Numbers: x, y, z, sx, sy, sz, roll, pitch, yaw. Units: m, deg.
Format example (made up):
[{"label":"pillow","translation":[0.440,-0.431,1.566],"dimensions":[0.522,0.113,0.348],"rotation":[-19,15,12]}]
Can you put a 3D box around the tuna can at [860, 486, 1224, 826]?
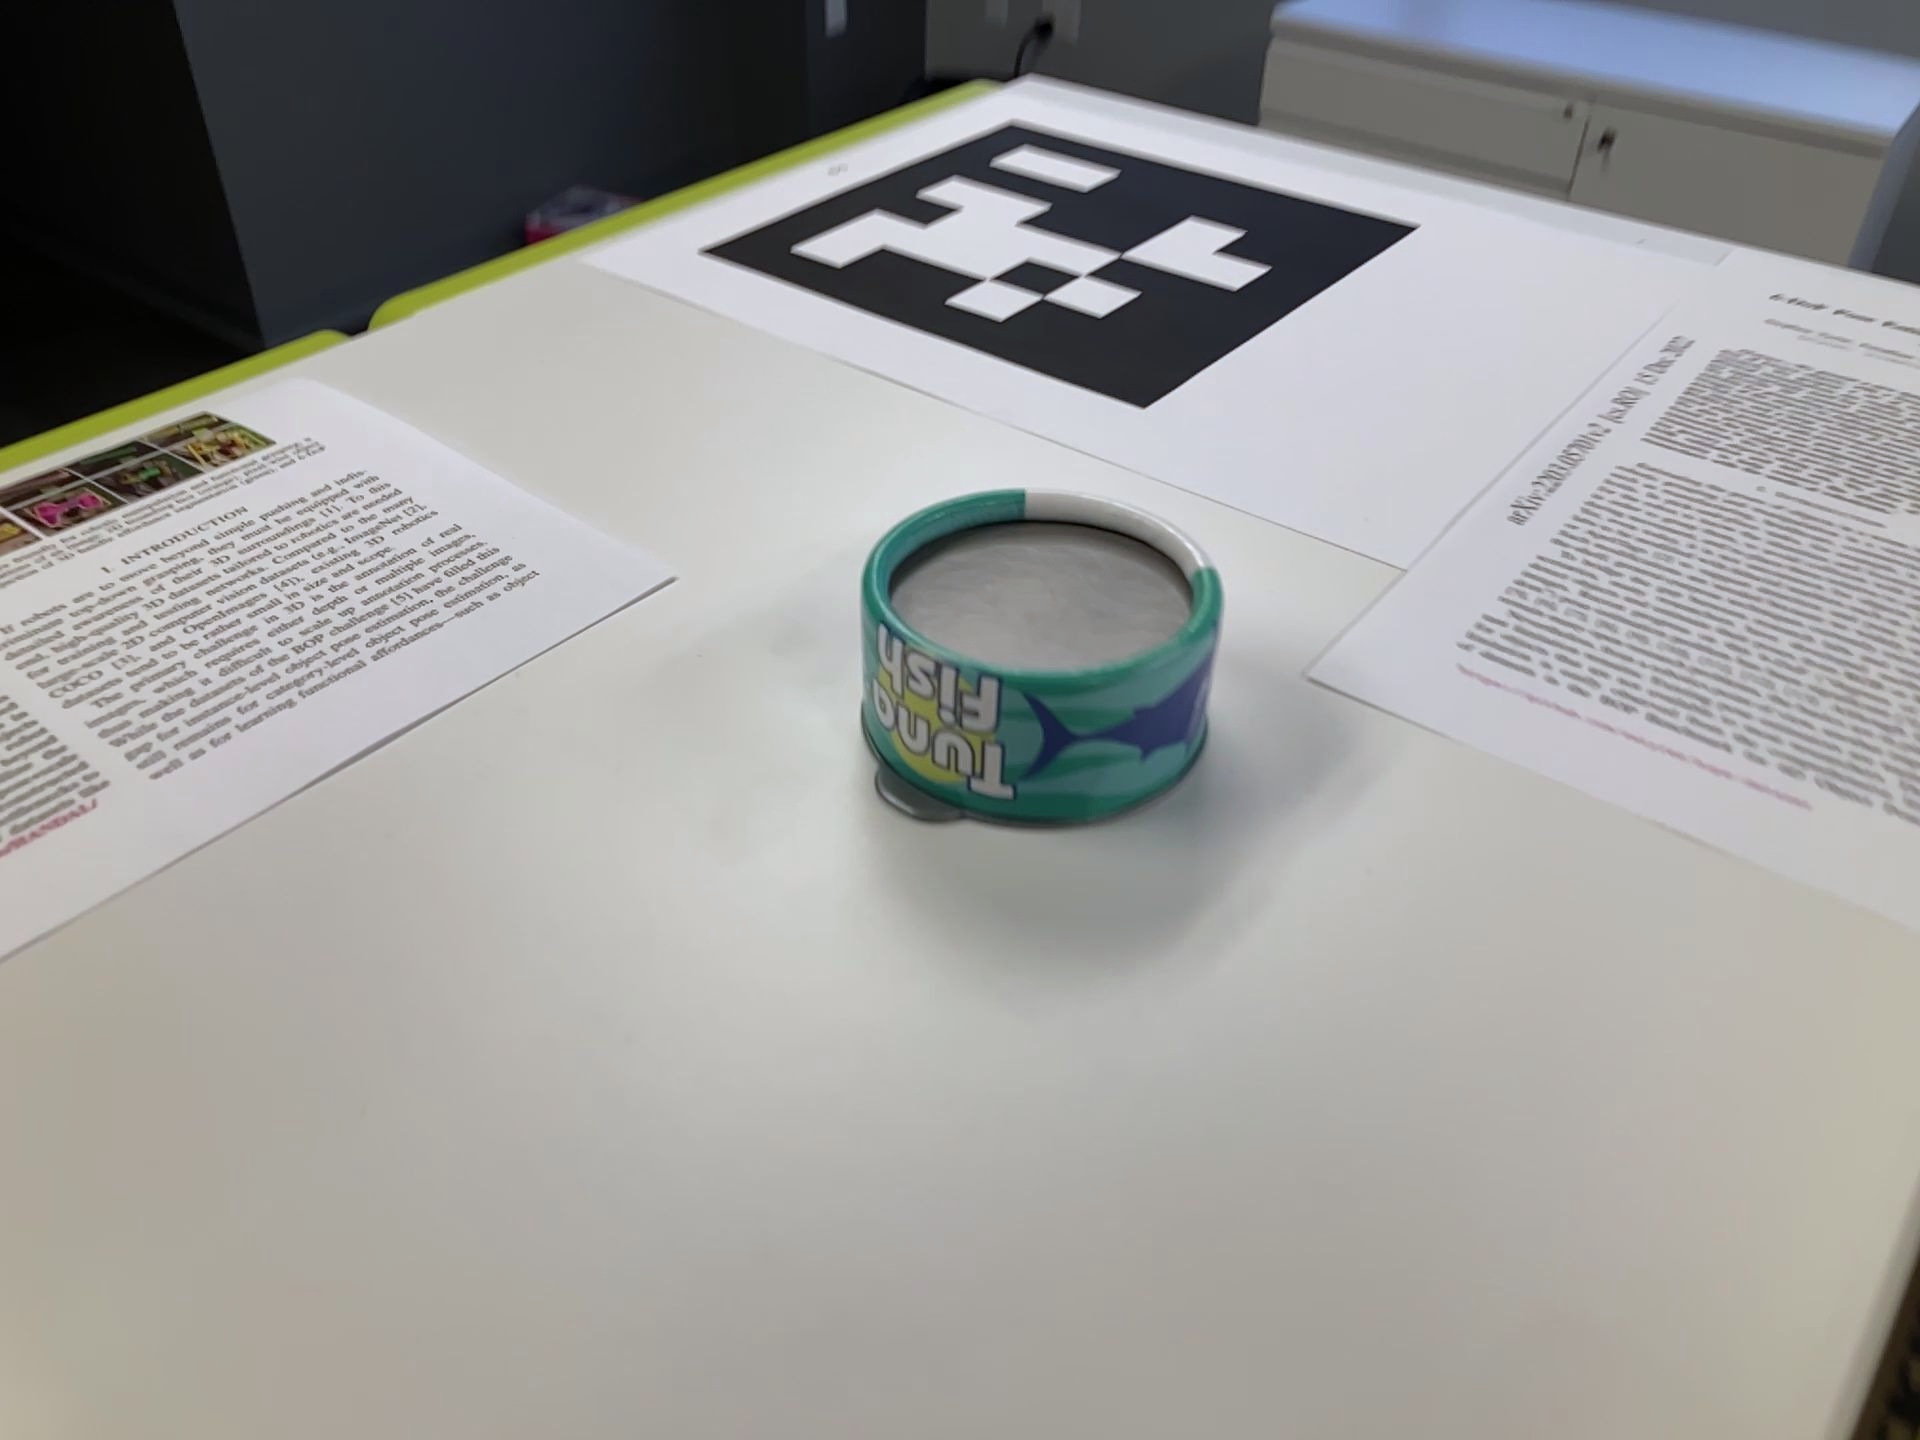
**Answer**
[{"label":"tuna can","translation":[0.013,-0.013,0.291],"dimensions":[0.071,0.033,0.071],"rotation":[-1,38,1]}]
